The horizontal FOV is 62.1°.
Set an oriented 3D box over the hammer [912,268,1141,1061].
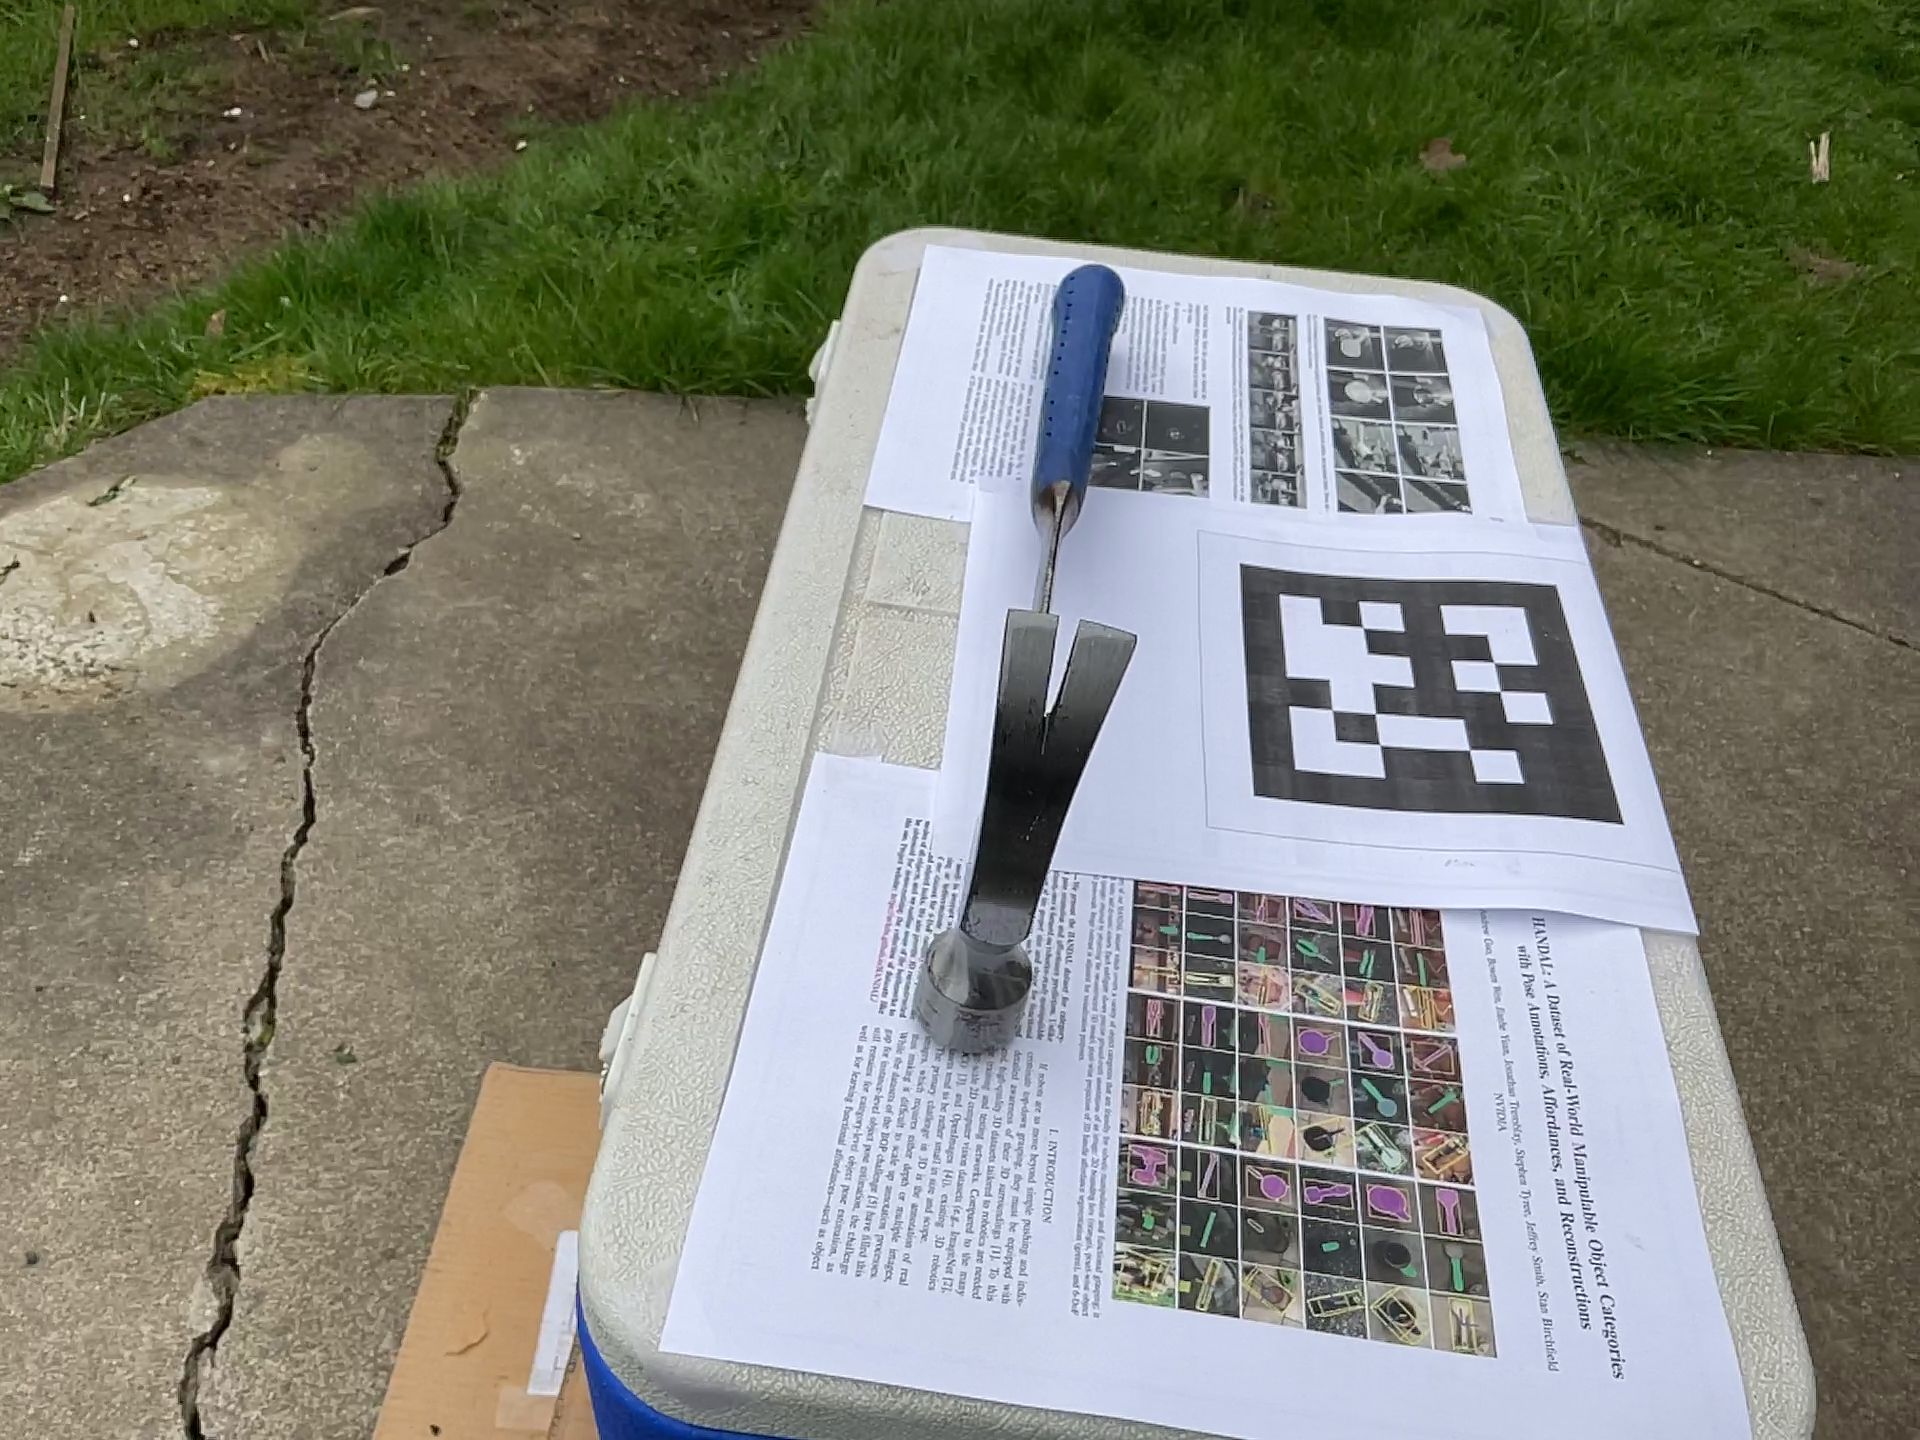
[{"bbox_3d":[0.037,-0.075,0.589,0.035,0.144,0.405,13,38,-1],"label":"hammer"}]
